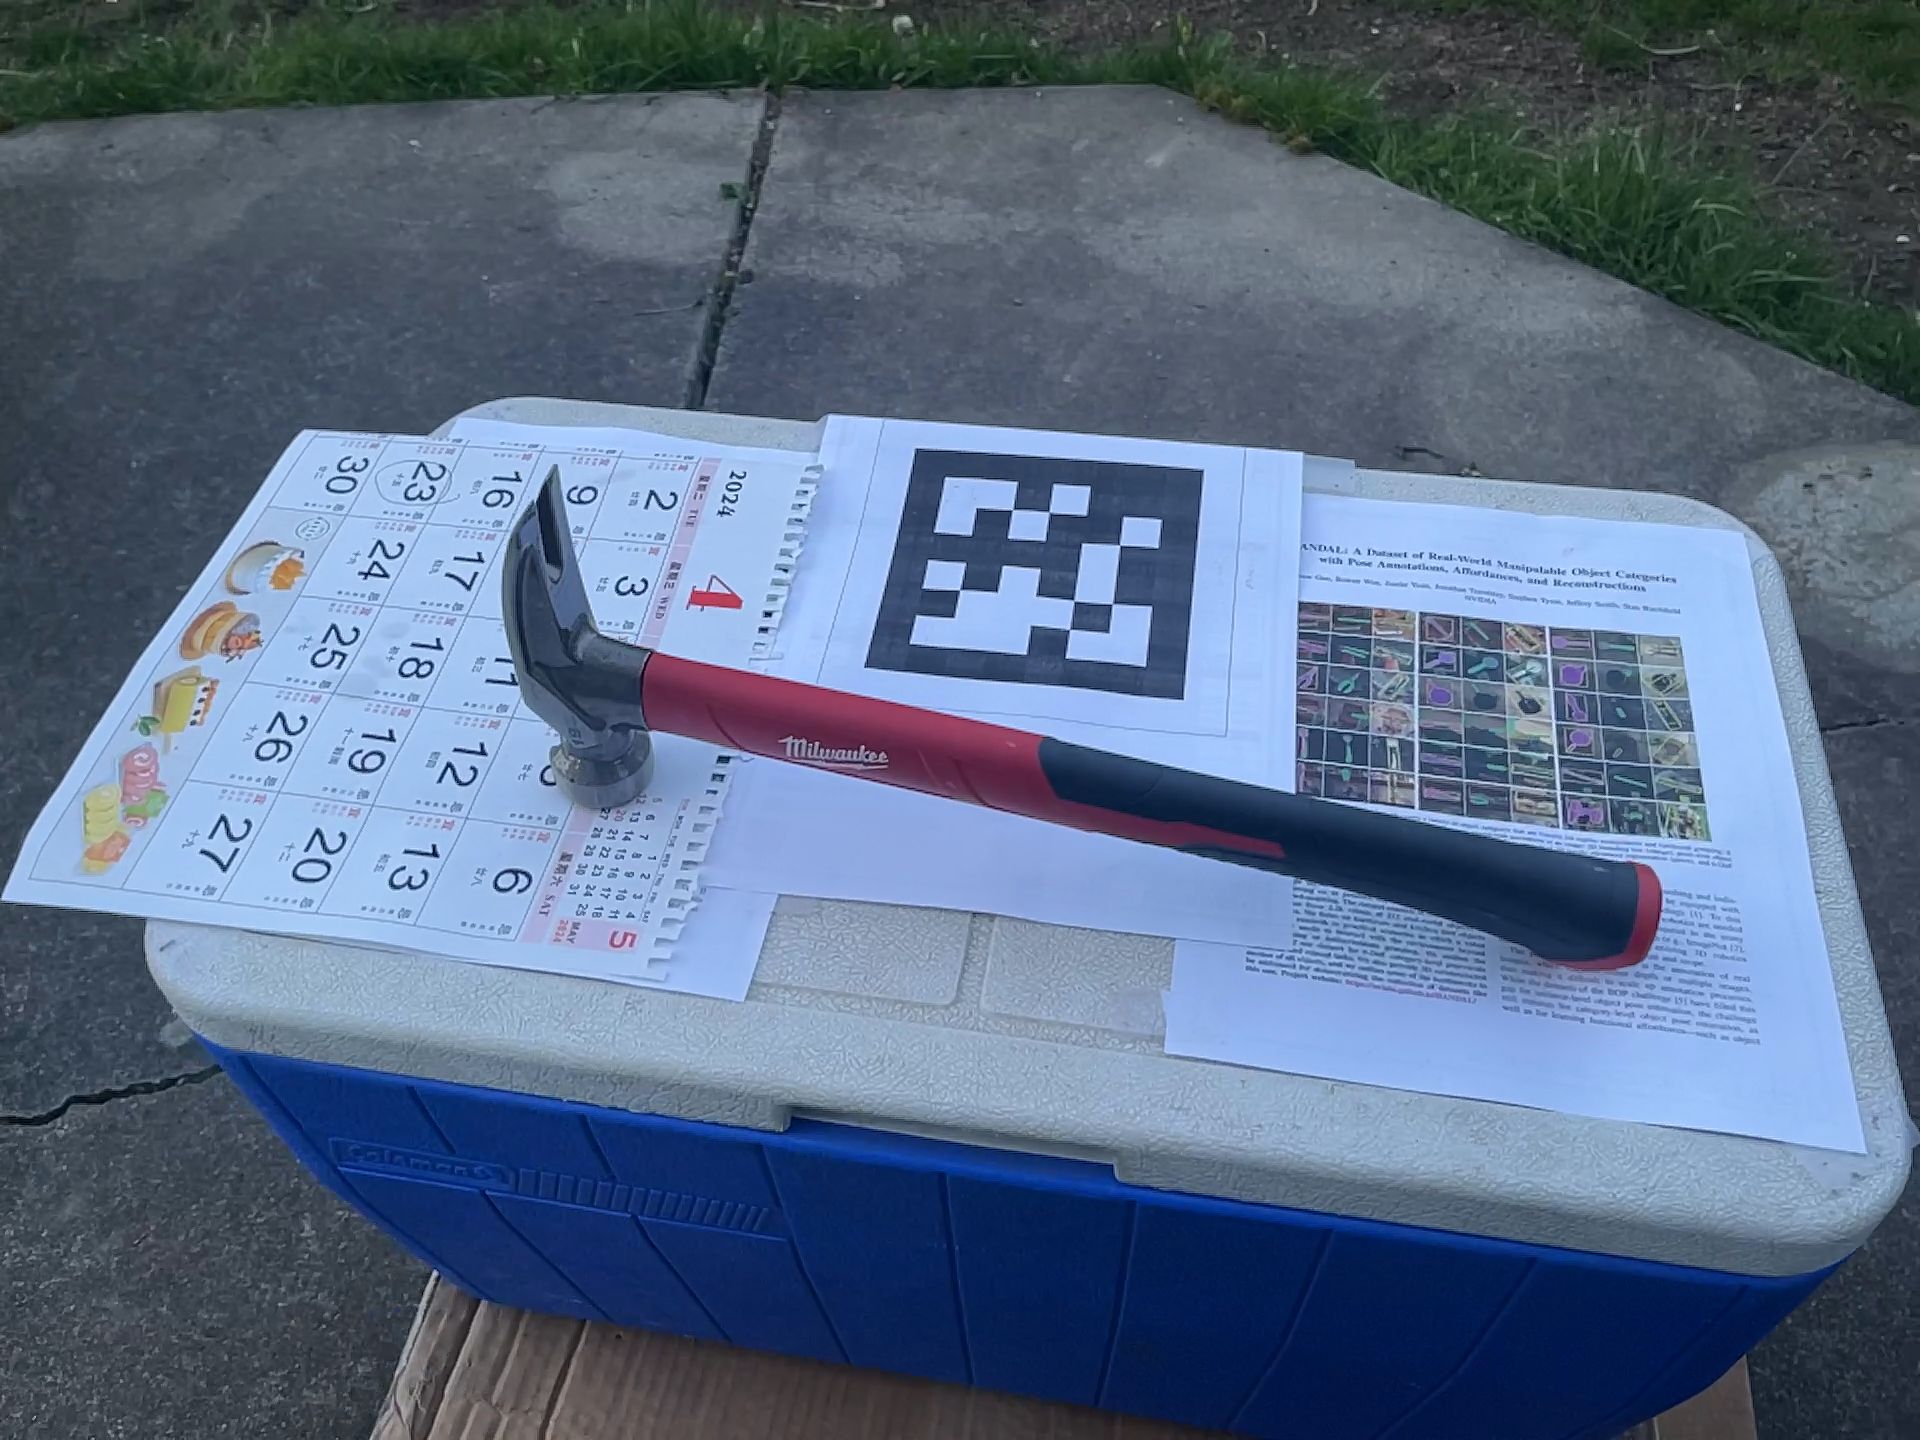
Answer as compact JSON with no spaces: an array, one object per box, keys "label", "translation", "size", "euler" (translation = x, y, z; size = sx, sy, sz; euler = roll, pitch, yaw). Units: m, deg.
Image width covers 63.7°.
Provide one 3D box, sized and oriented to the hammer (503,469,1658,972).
[{"label":"hammer","translation":[0.037,0.013,0.517],"size":[0.386,0.143,0.038],"euler":[12,51,7]}]
